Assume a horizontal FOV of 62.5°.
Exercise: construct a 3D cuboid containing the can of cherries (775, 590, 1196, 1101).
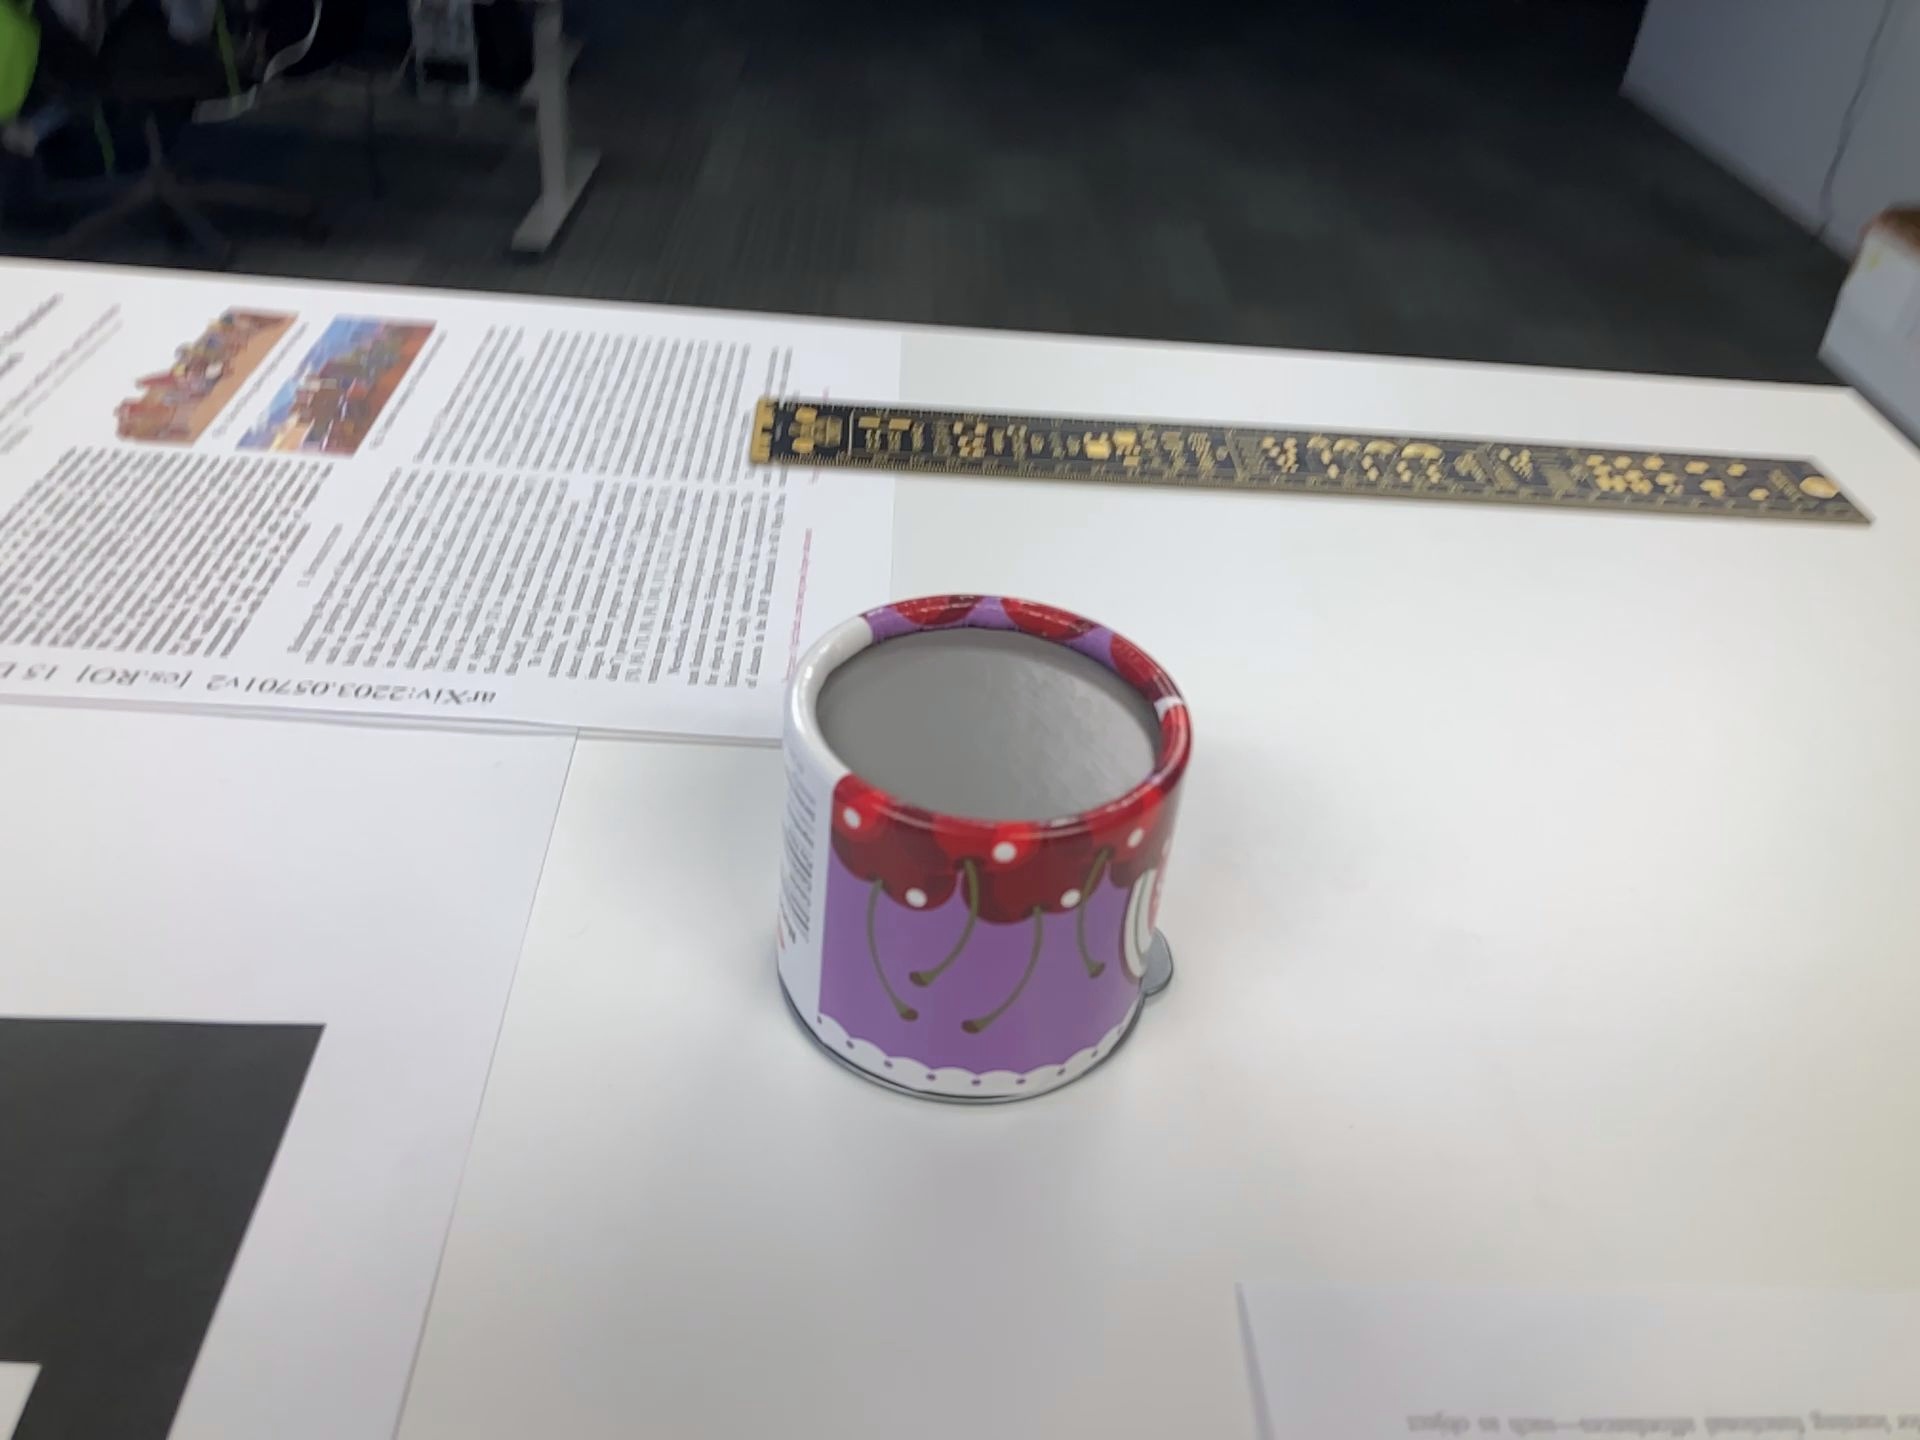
[{"bbox_3d":[0.005,0.019,0.266,0.071,0.058,0.071,4,36,-3],"label":"can of cherries"}]
